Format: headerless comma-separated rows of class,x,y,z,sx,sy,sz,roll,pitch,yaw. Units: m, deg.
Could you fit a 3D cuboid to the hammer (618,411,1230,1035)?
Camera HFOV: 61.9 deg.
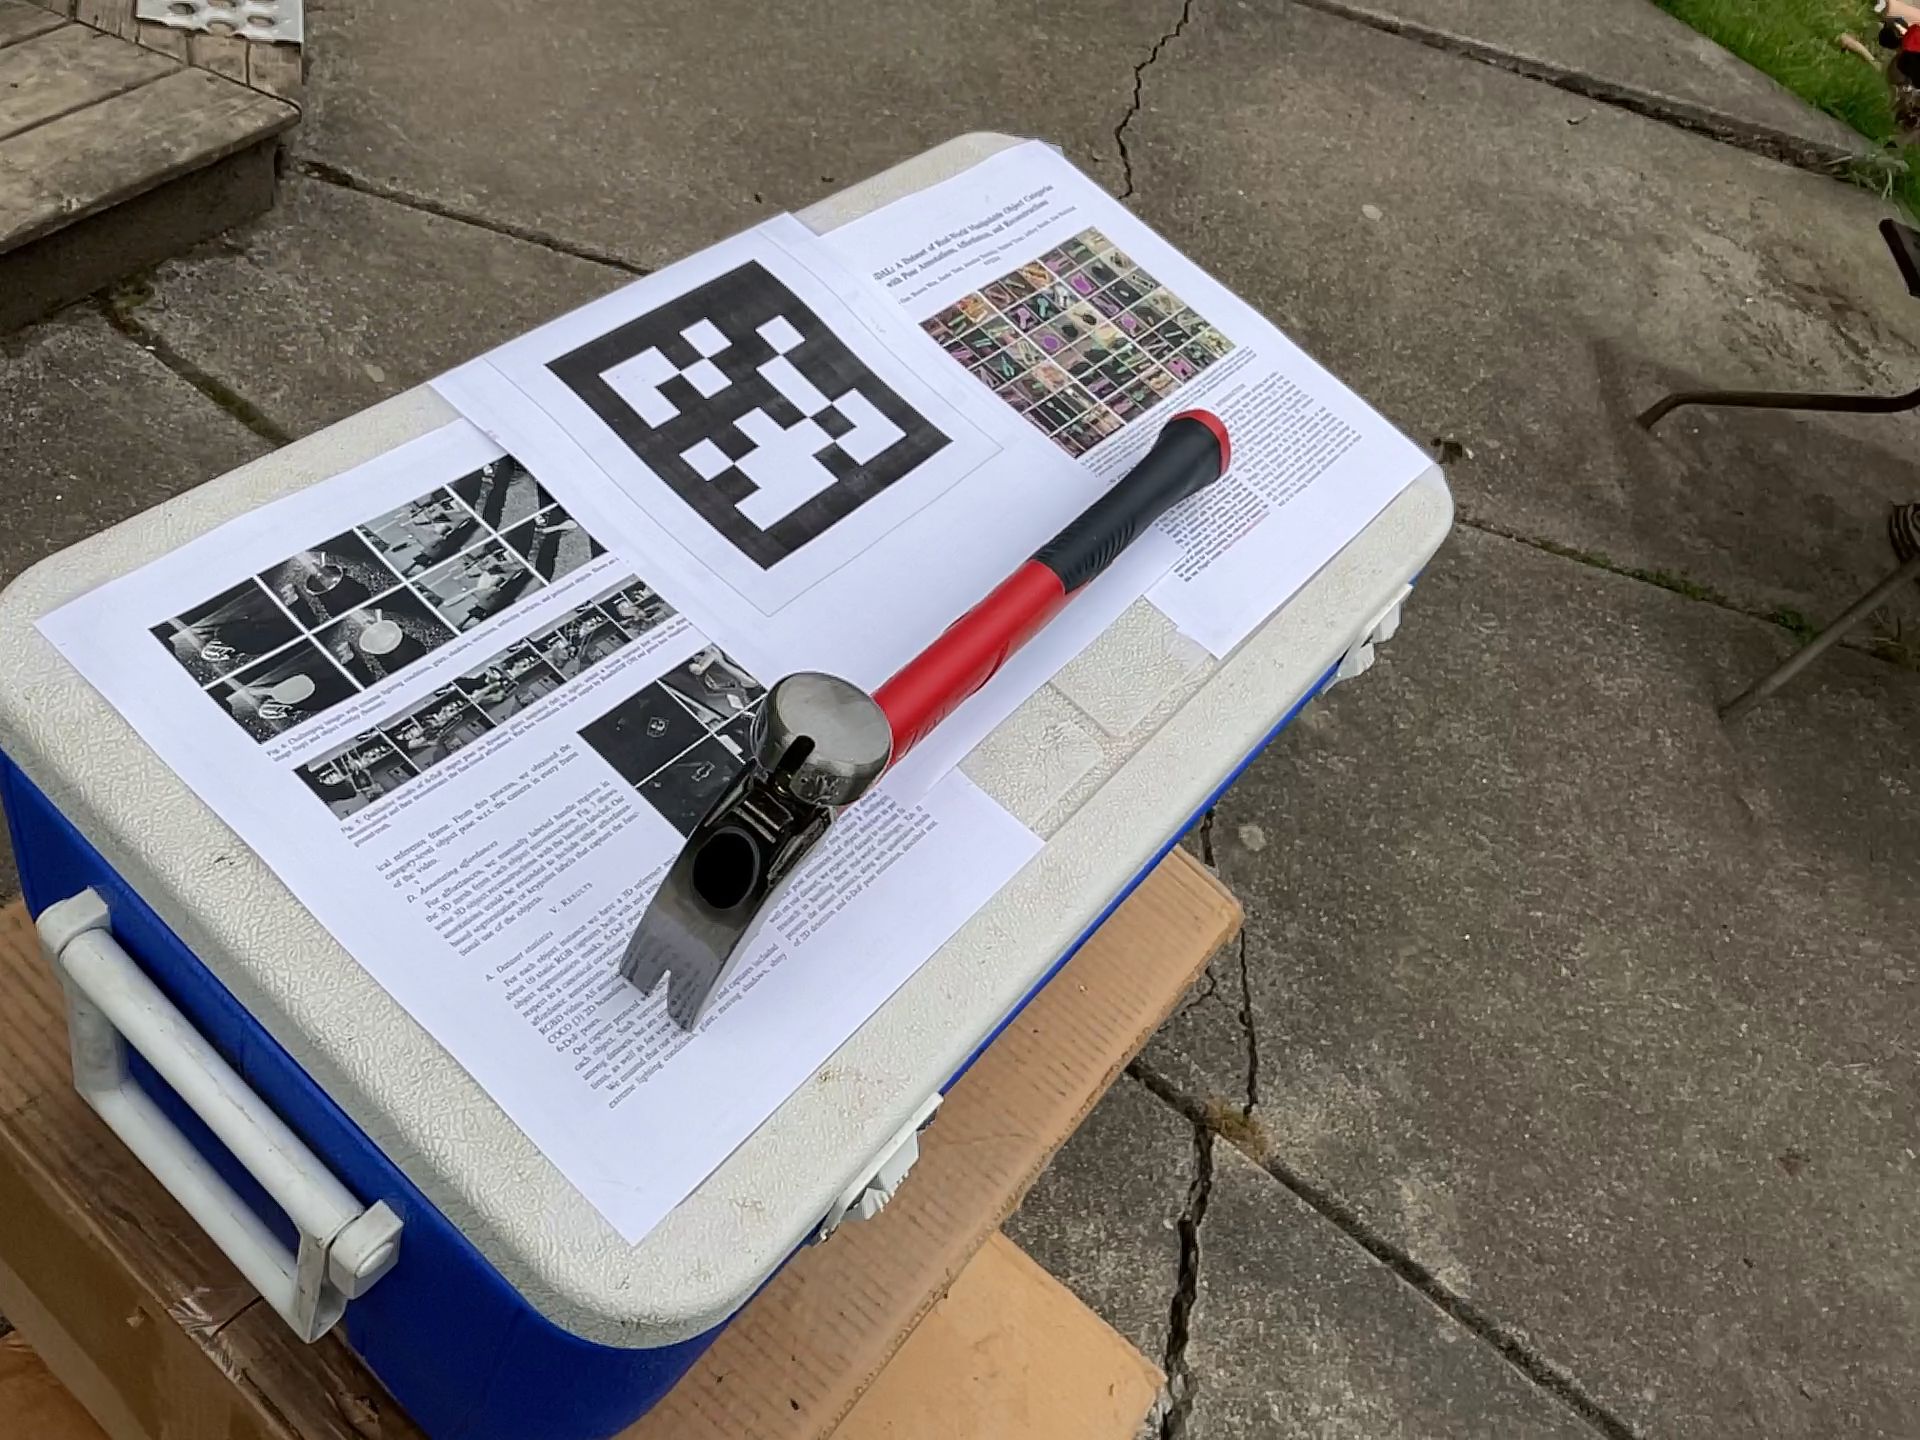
hammer,0.014,-0.031,0.611,0.038,0.143,0.386,39,39,6
